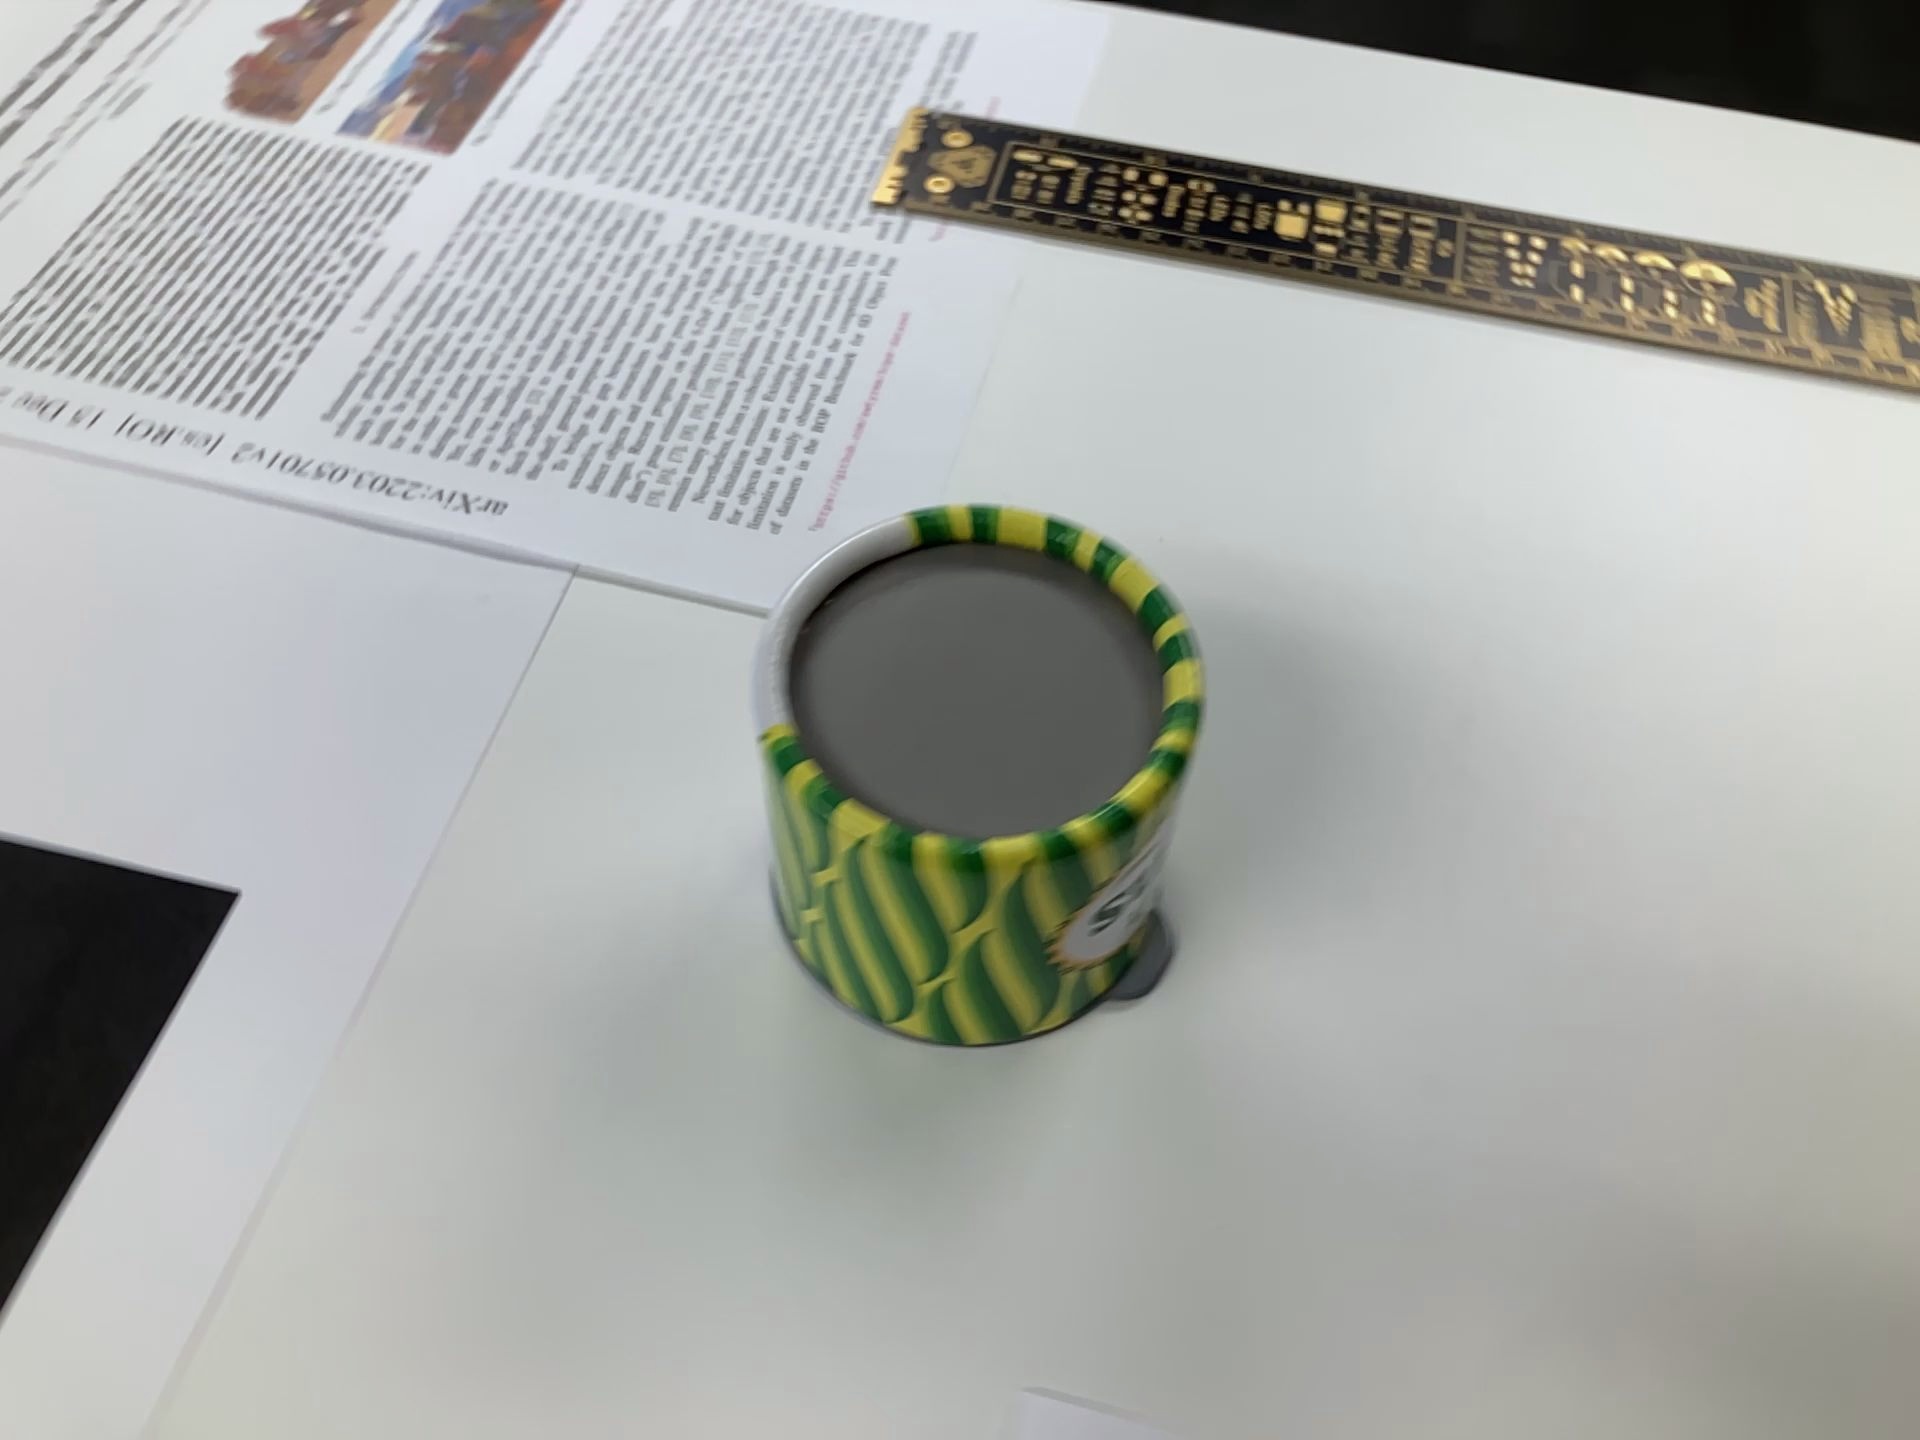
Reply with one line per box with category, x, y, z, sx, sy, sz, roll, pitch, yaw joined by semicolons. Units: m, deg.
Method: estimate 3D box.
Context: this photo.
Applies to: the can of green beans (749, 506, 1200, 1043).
can of green beans;0.002;0.009;0.254;0.071;0.058;0.071;1;55;-1
